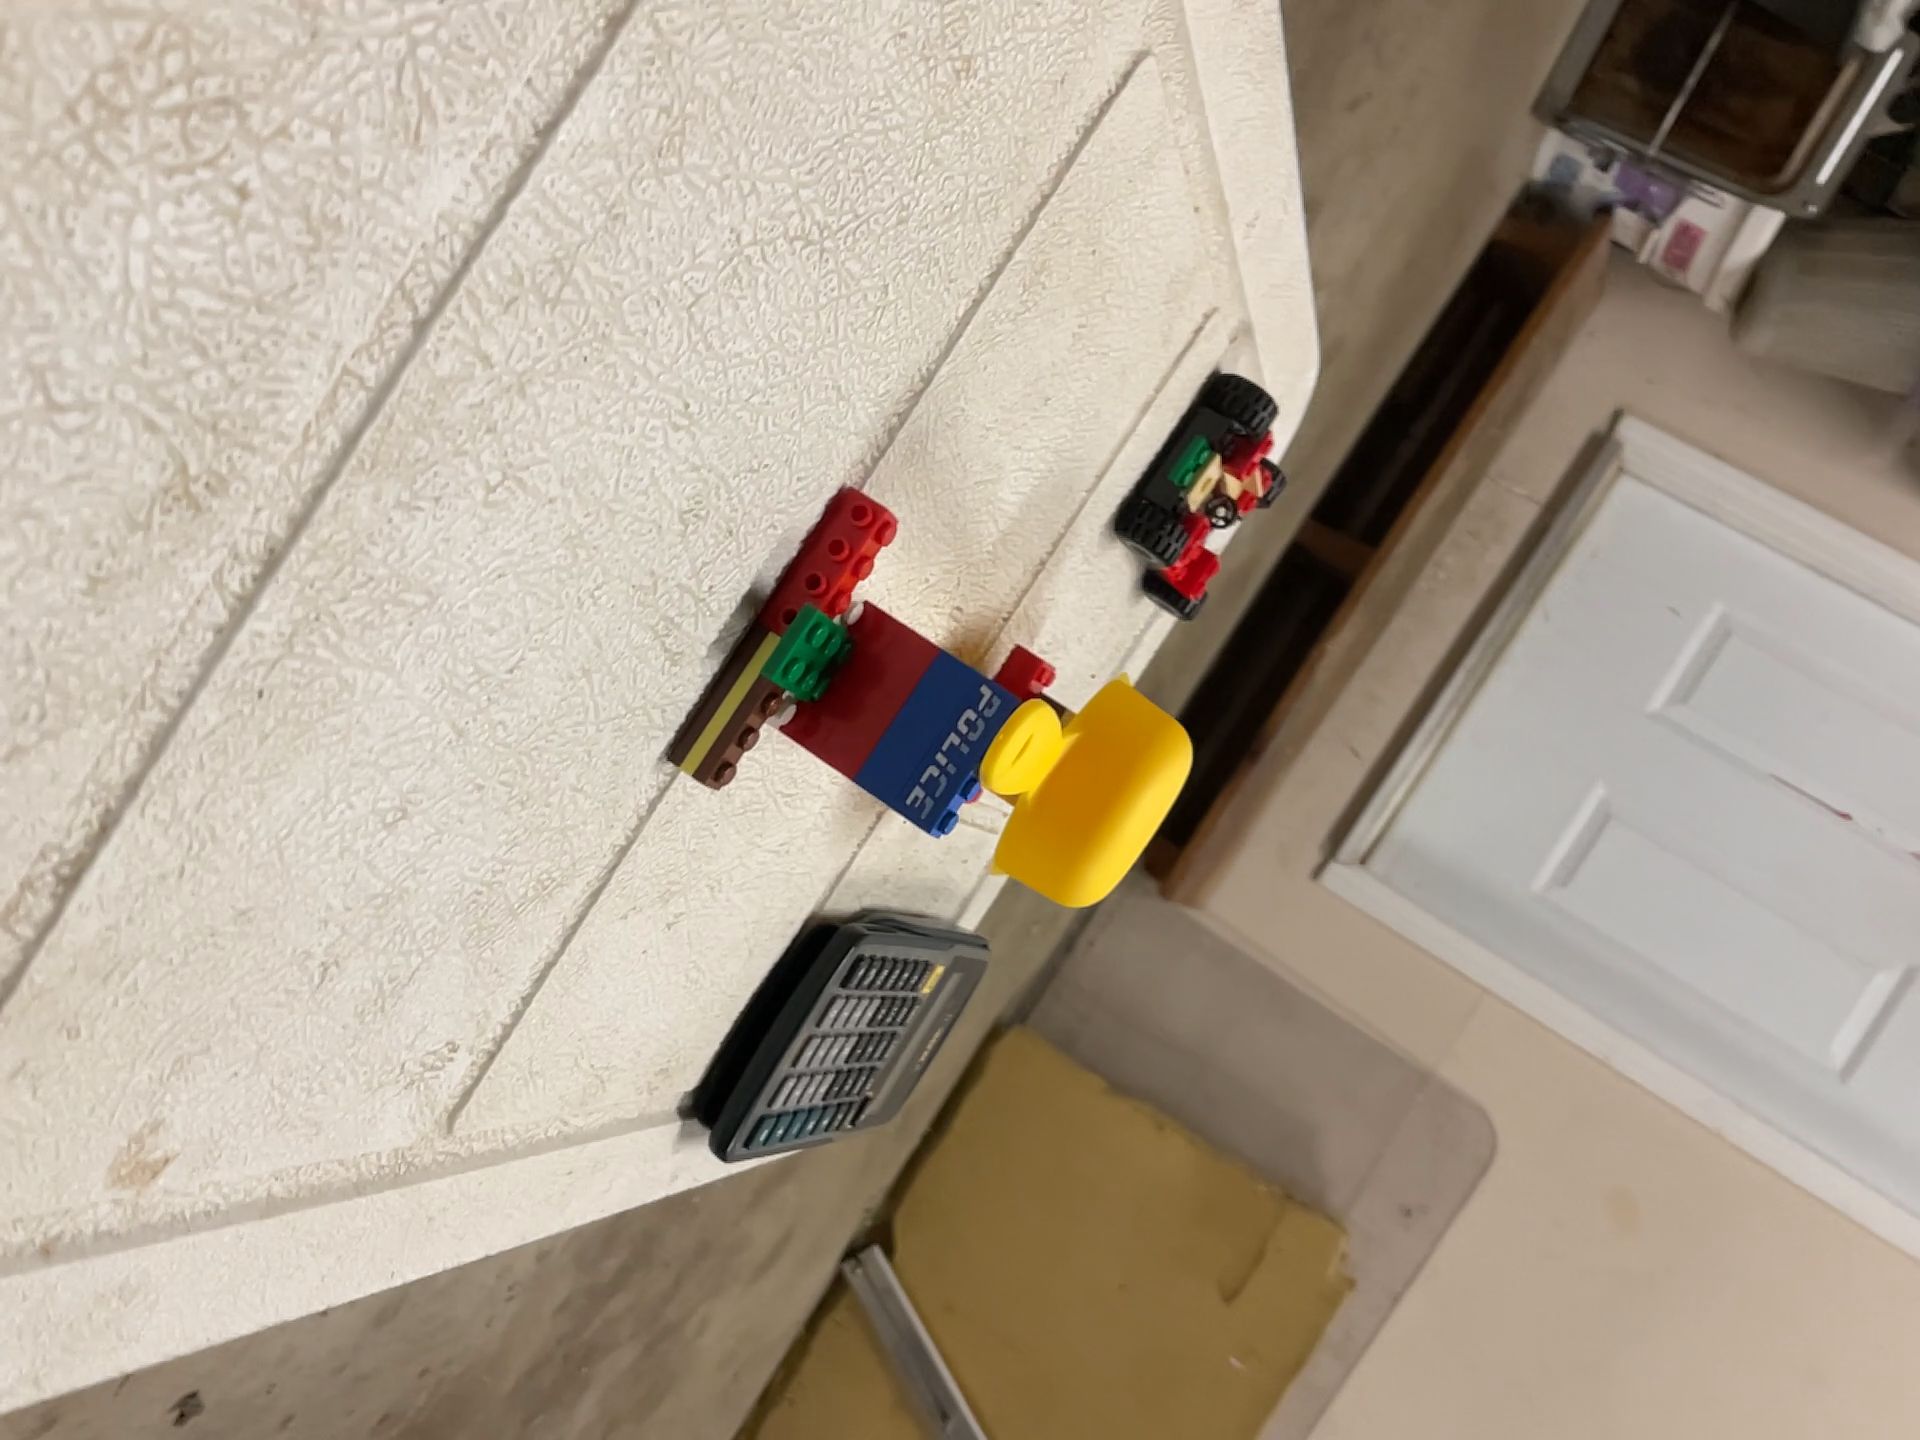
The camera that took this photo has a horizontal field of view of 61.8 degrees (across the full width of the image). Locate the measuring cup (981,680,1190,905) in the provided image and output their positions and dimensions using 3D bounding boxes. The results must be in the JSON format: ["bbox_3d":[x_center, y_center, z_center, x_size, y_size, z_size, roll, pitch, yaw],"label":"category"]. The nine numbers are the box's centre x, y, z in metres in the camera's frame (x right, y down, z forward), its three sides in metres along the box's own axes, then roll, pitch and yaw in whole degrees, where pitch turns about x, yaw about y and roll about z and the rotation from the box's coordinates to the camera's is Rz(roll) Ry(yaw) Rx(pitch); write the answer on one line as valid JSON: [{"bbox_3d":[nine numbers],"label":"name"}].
[{"bbox_3d":[0.030,0.017,0.376,0.062,0.029,0.156,-57,169,0],"label":"measuring cup"}]
